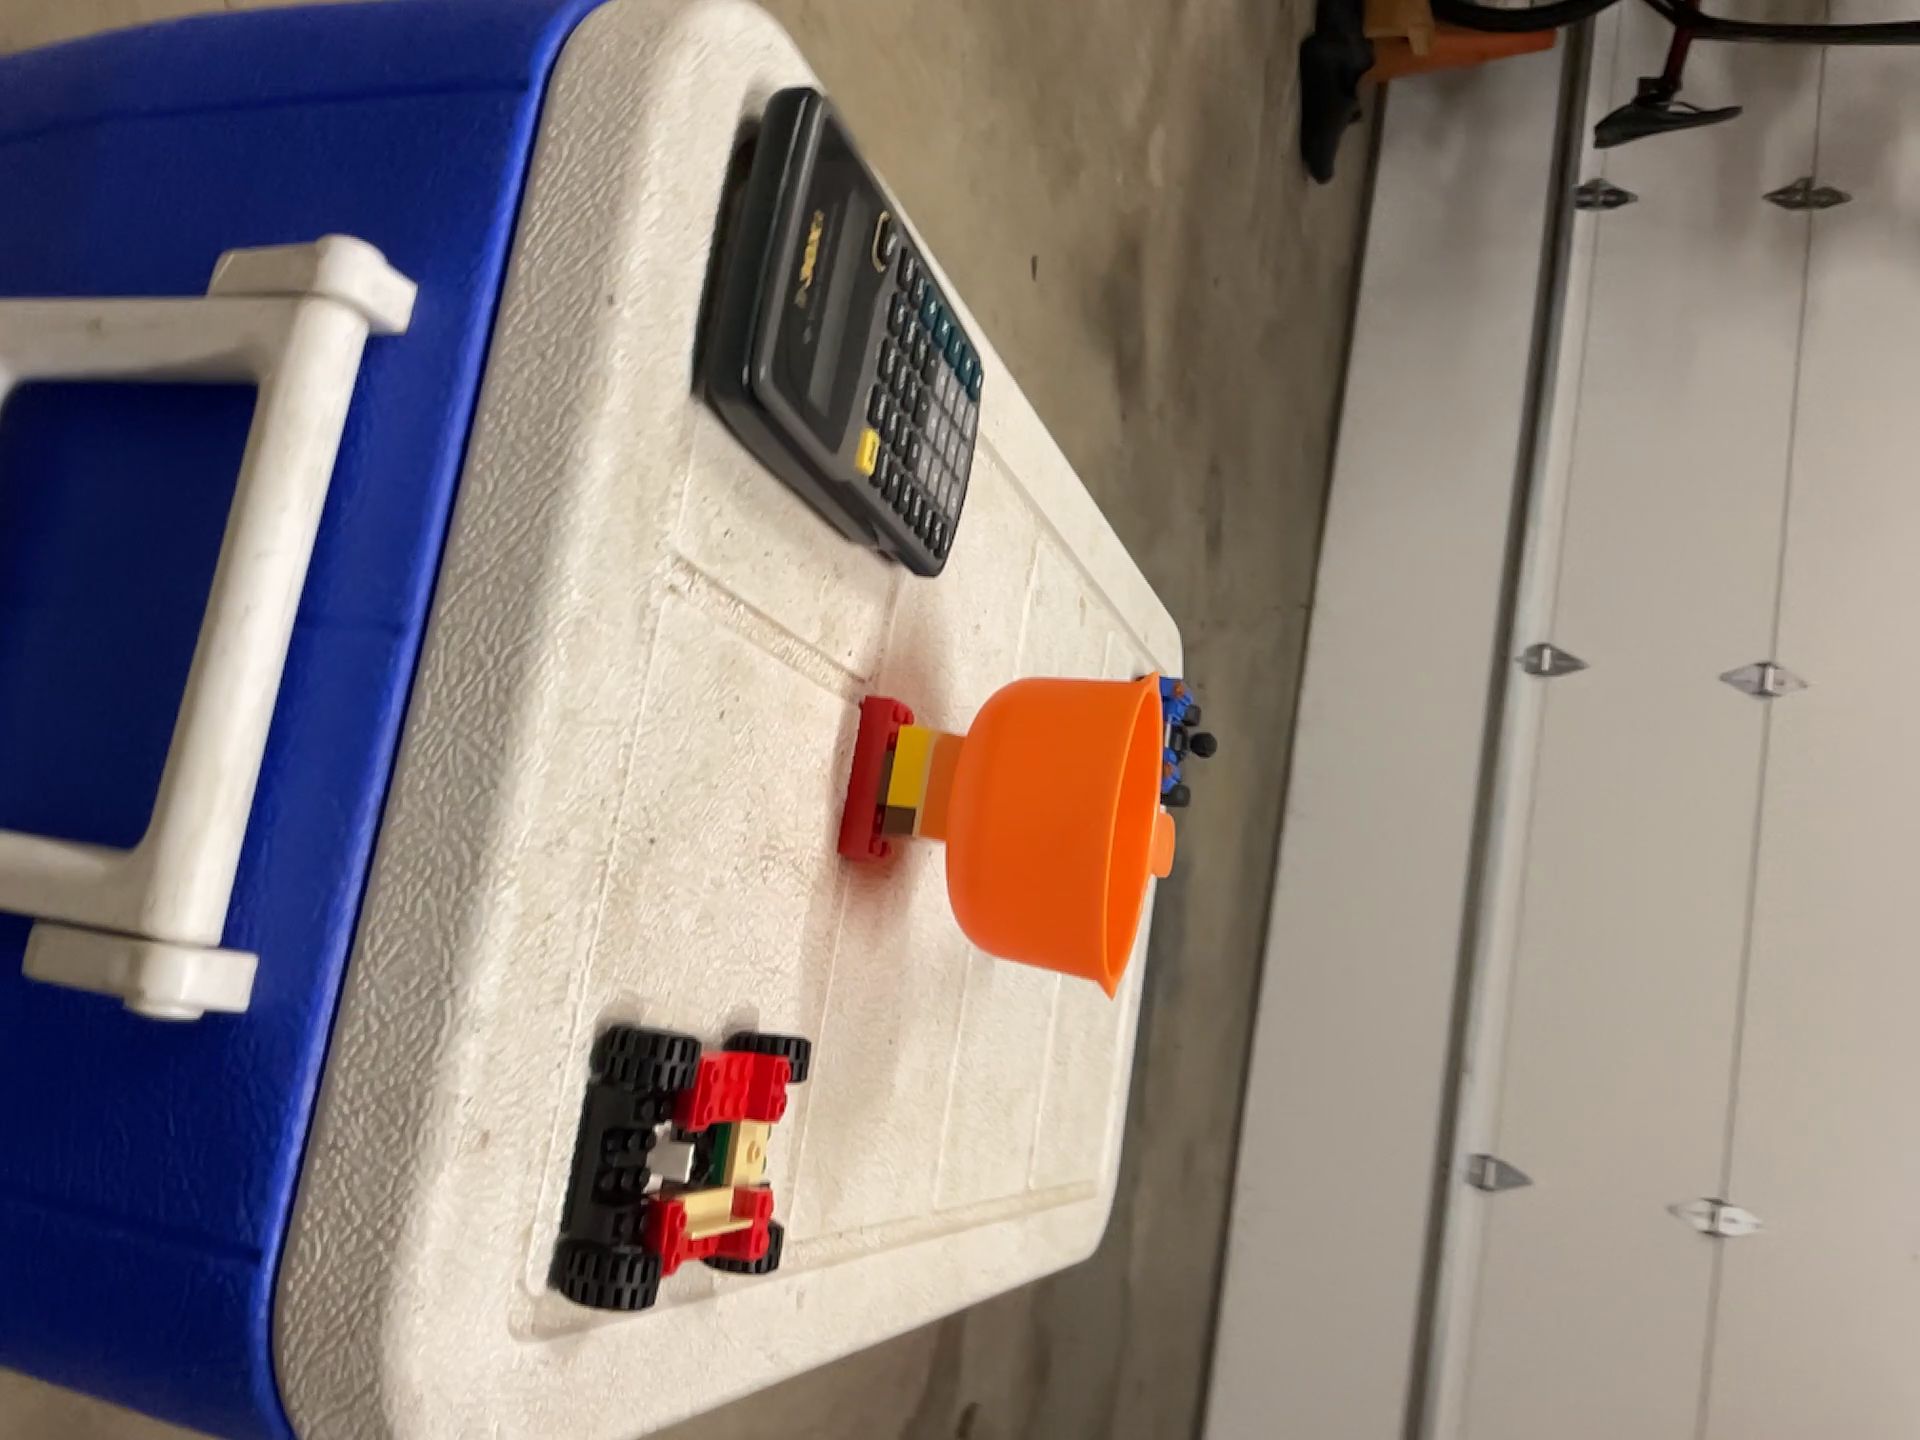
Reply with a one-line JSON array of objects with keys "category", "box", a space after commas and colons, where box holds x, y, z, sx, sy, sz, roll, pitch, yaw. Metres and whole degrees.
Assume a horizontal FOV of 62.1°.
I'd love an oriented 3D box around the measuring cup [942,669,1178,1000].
[{"category": "measuring cup", "box": [0.037, 0.035, 0.505, 0.173, 0.052, 0.095, 29, 69, -75]}]
